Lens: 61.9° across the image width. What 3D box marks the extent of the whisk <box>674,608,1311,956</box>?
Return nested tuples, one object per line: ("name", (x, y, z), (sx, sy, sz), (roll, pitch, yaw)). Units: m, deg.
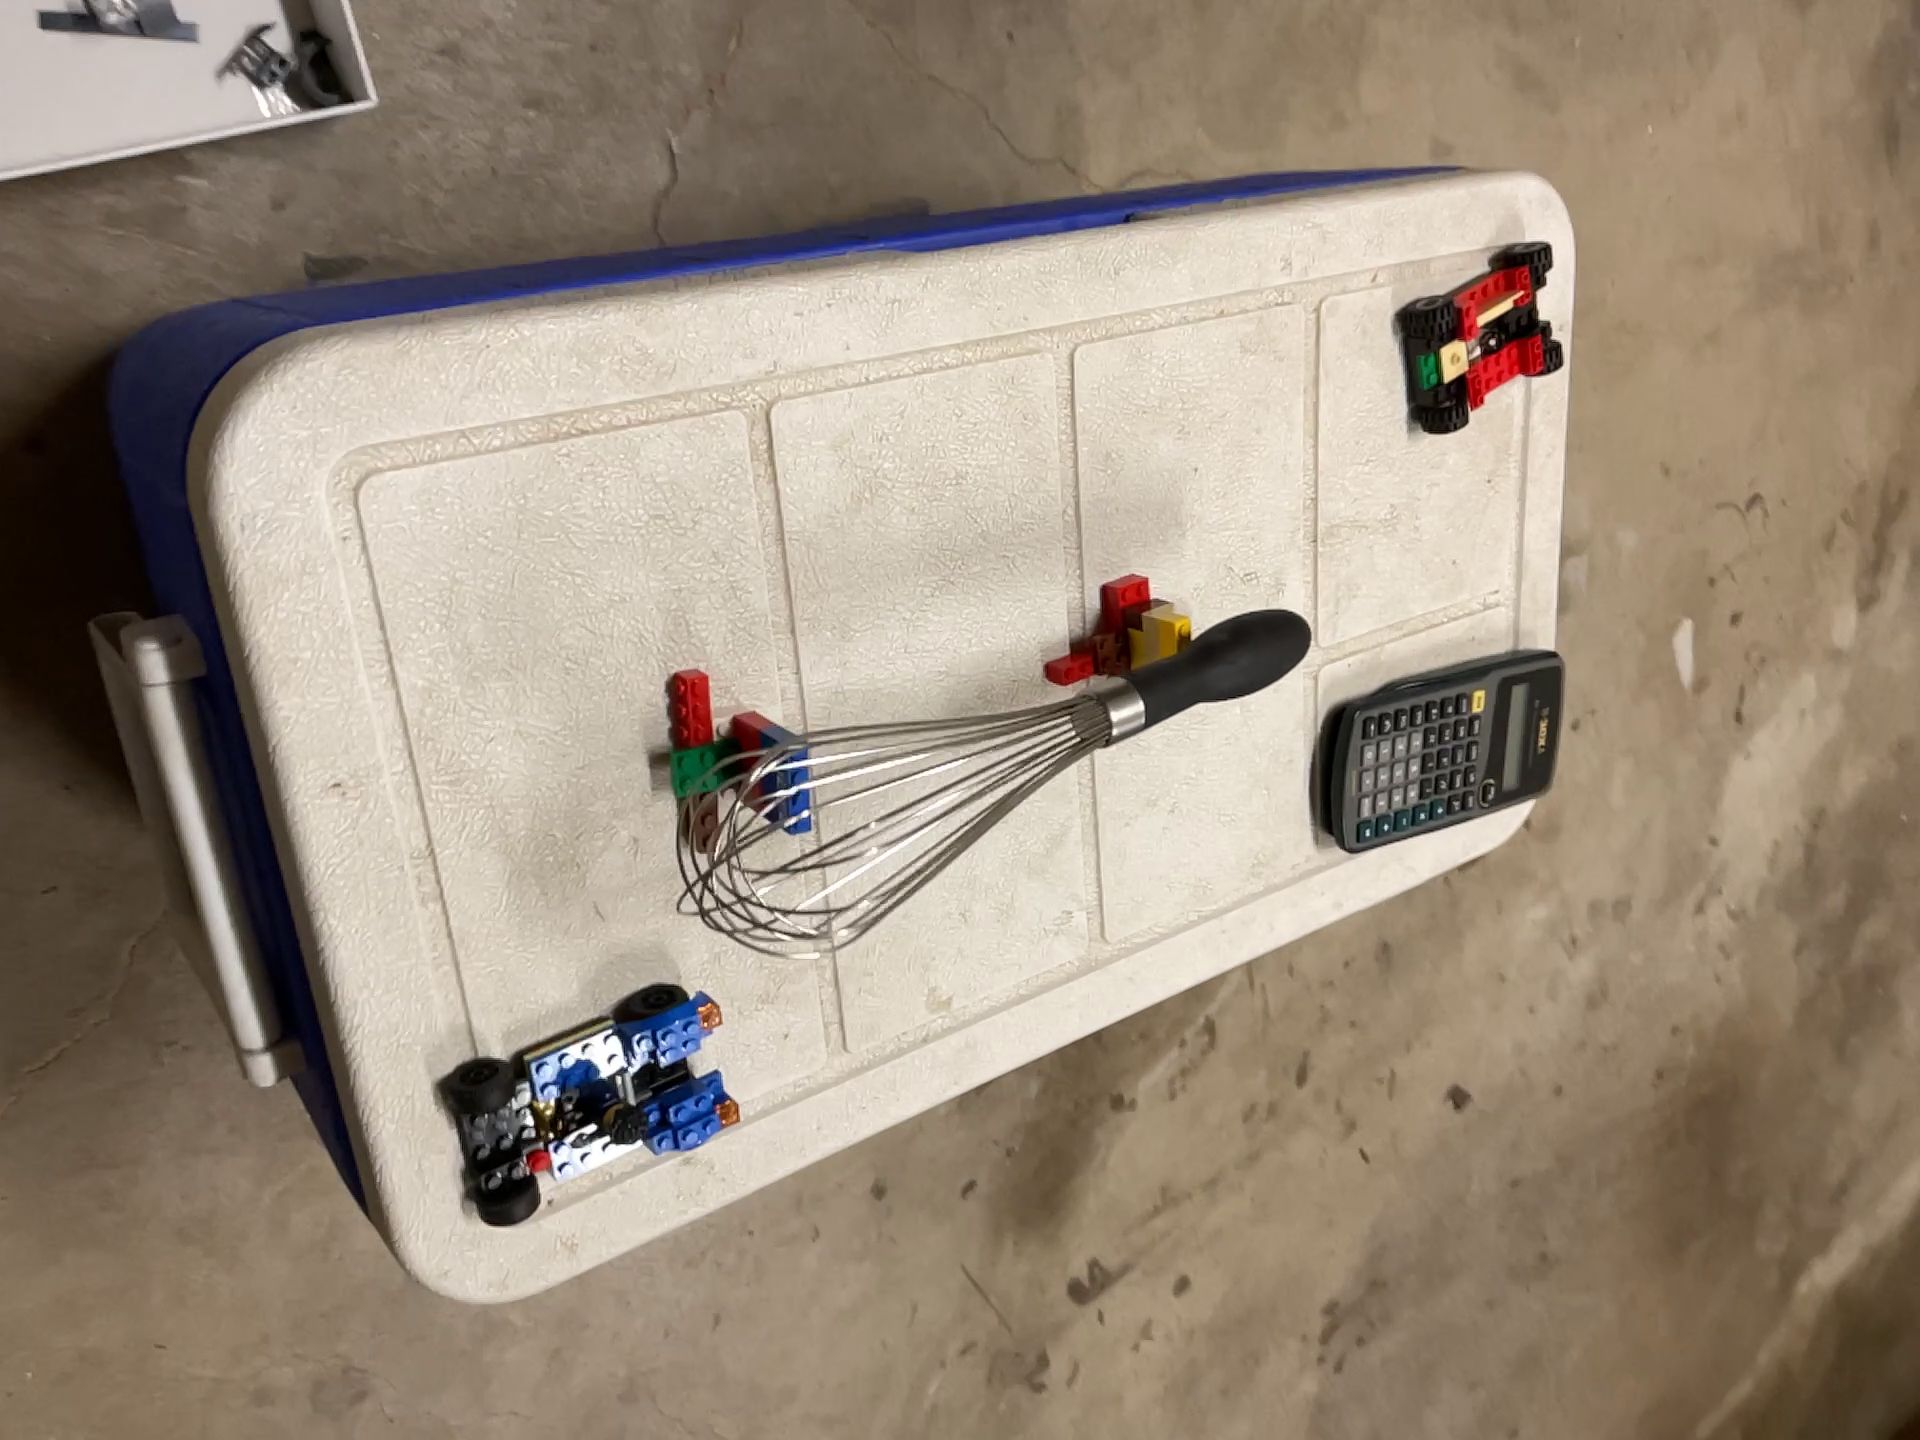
("whisk", (0.028, 0.007, 0.544), (0.285, 0.070, 0.070), (-22, 112, -36))
